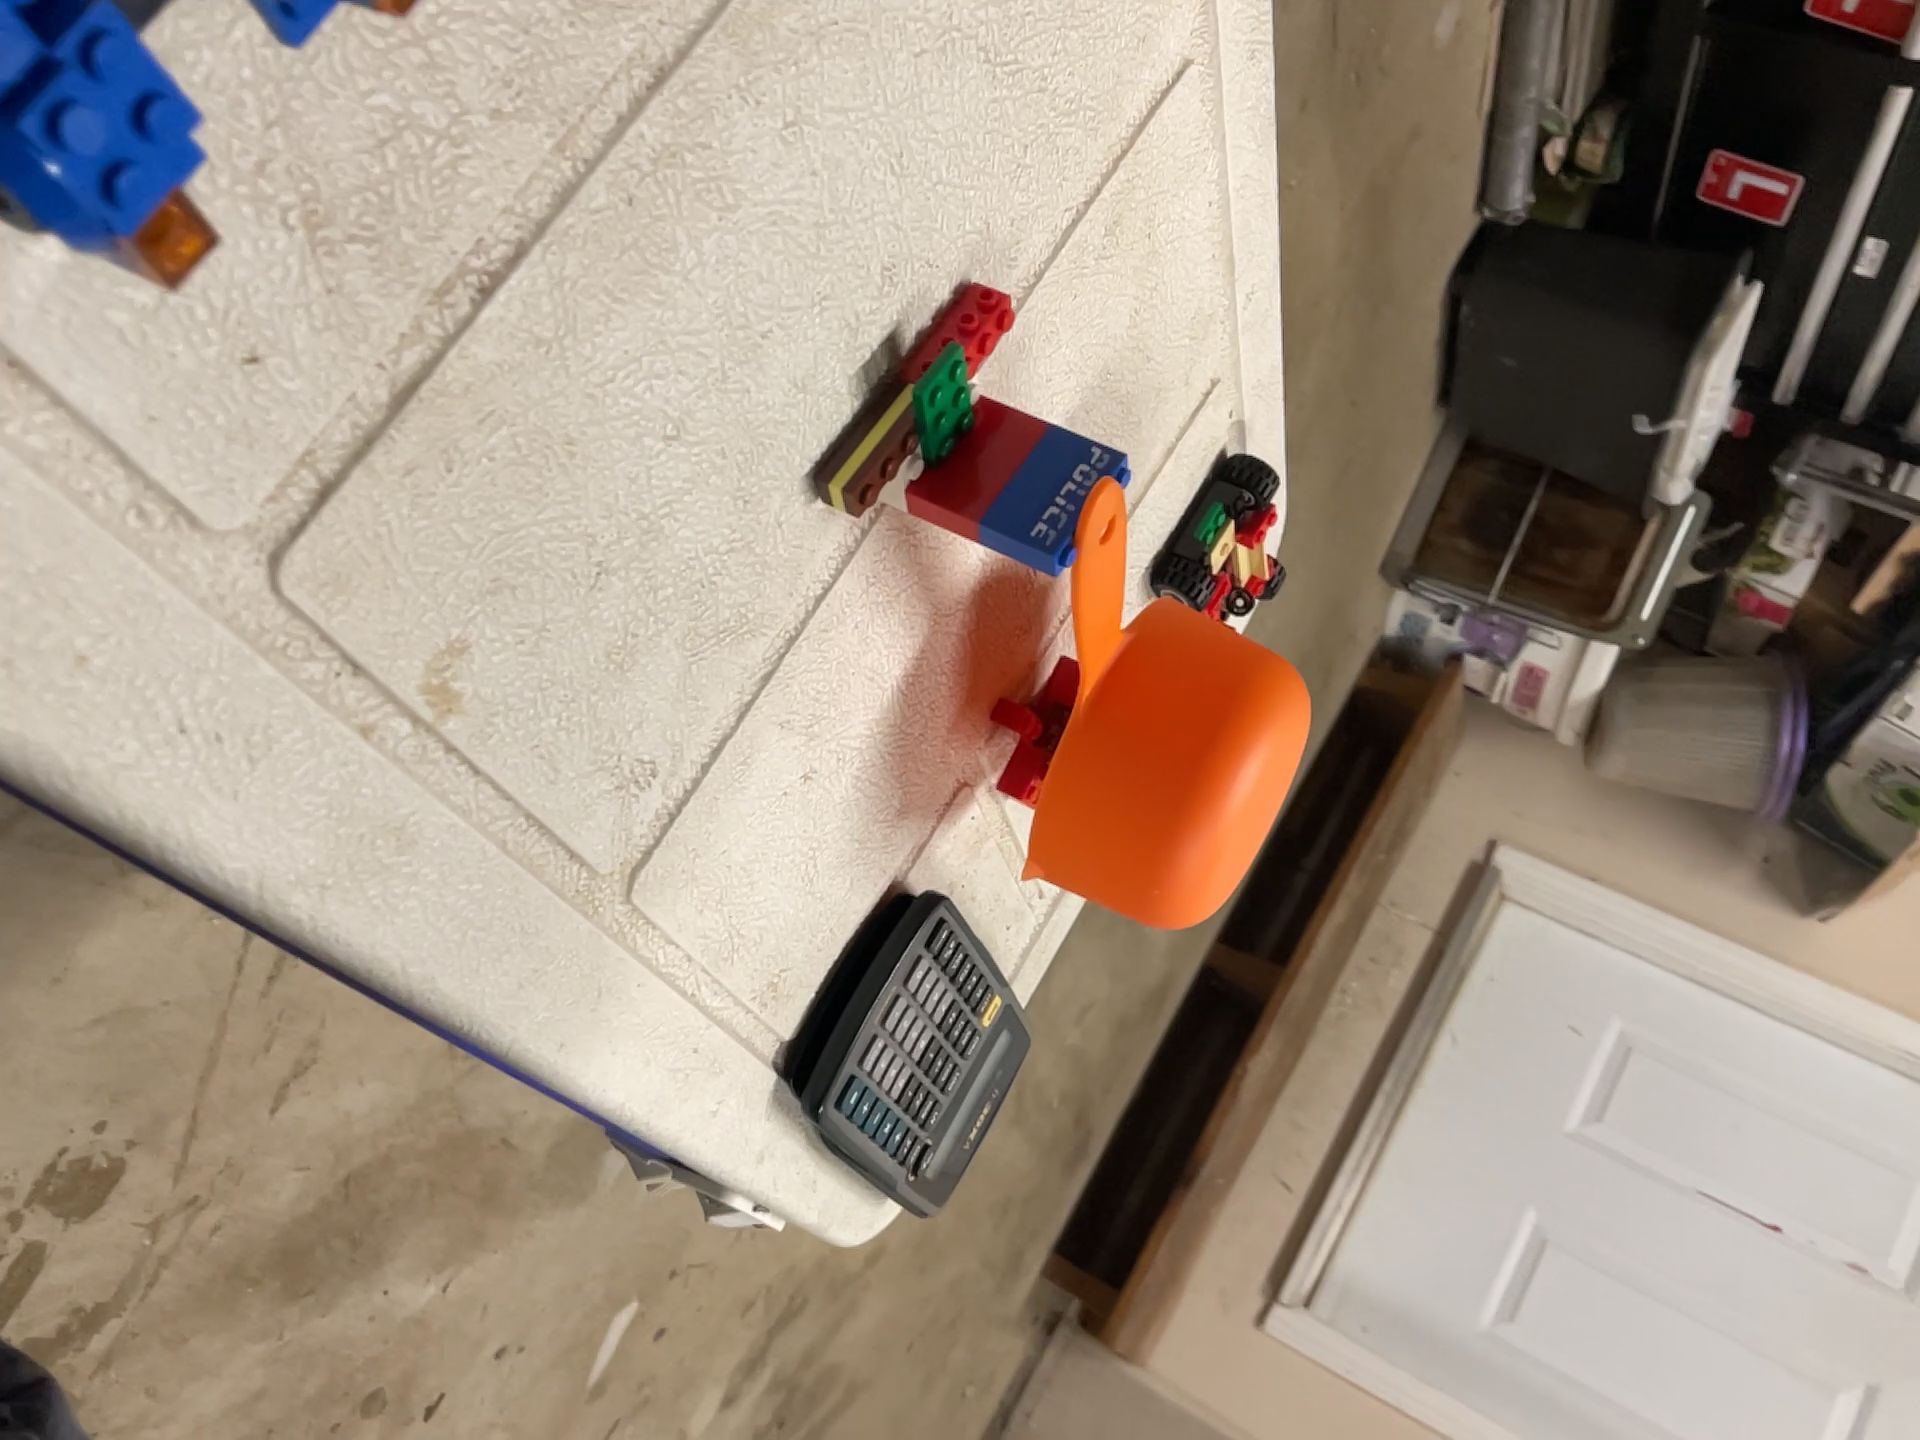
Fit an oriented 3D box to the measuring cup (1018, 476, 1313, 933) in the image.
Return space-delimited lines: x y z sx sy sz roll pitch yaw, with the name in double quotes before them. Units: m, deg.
"measuring cup" 0.057 -0.003 0.405 0.095 0.052 0.173 -58 163 -19
